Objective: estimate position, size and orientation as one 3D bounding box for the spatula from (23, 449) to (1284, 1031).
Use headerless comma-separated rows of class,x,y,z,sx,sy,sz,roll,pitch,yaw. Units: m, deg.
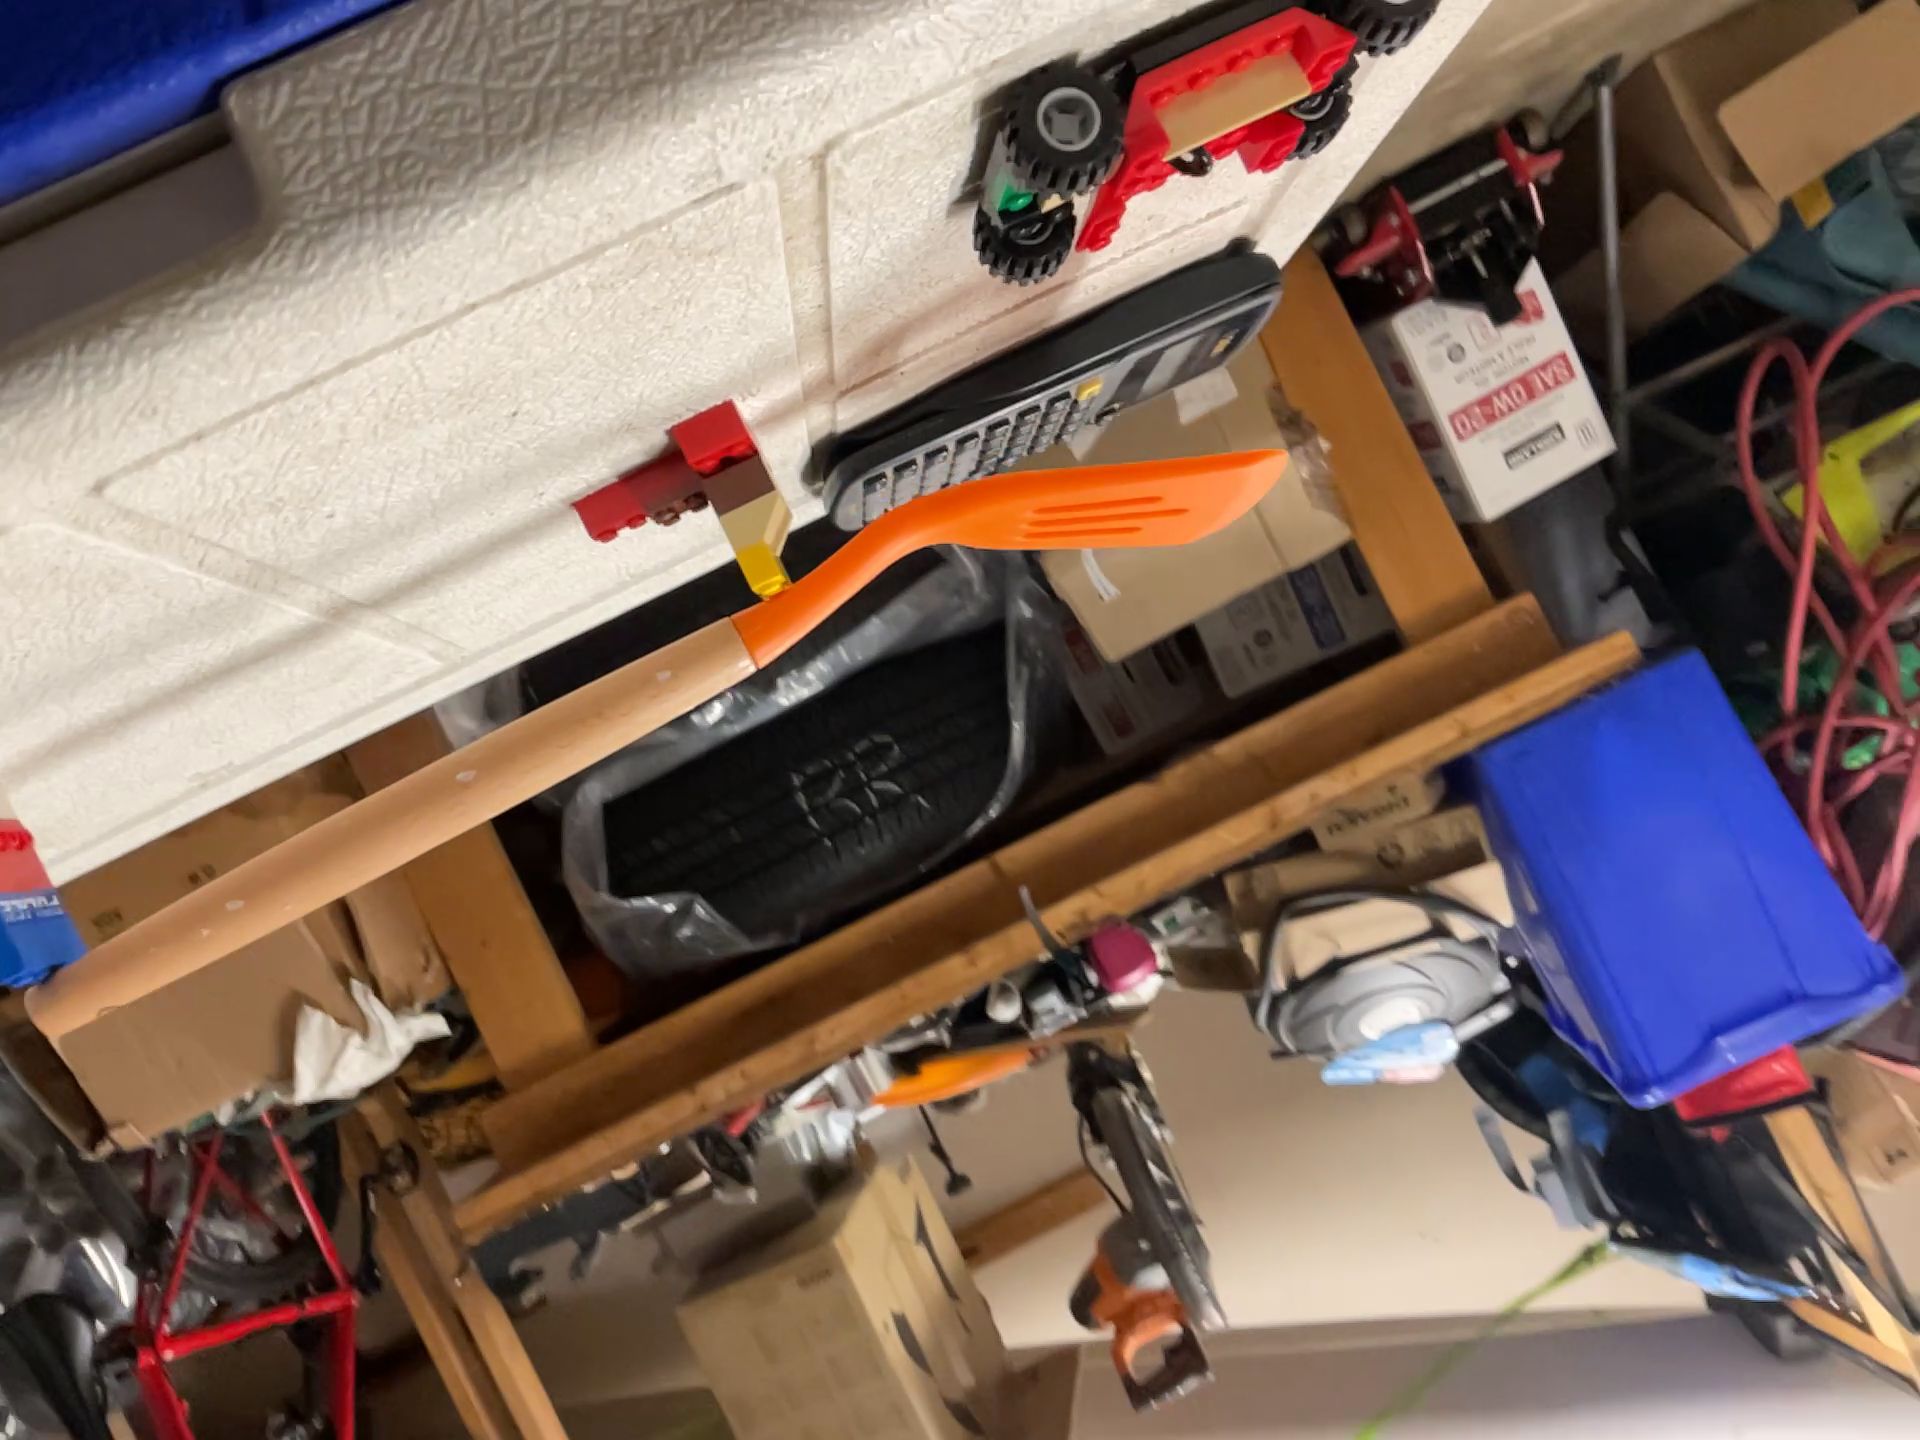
spatula,-0.072,0.000,0.395,0.322,0.041,0.081,-28,176,-7
